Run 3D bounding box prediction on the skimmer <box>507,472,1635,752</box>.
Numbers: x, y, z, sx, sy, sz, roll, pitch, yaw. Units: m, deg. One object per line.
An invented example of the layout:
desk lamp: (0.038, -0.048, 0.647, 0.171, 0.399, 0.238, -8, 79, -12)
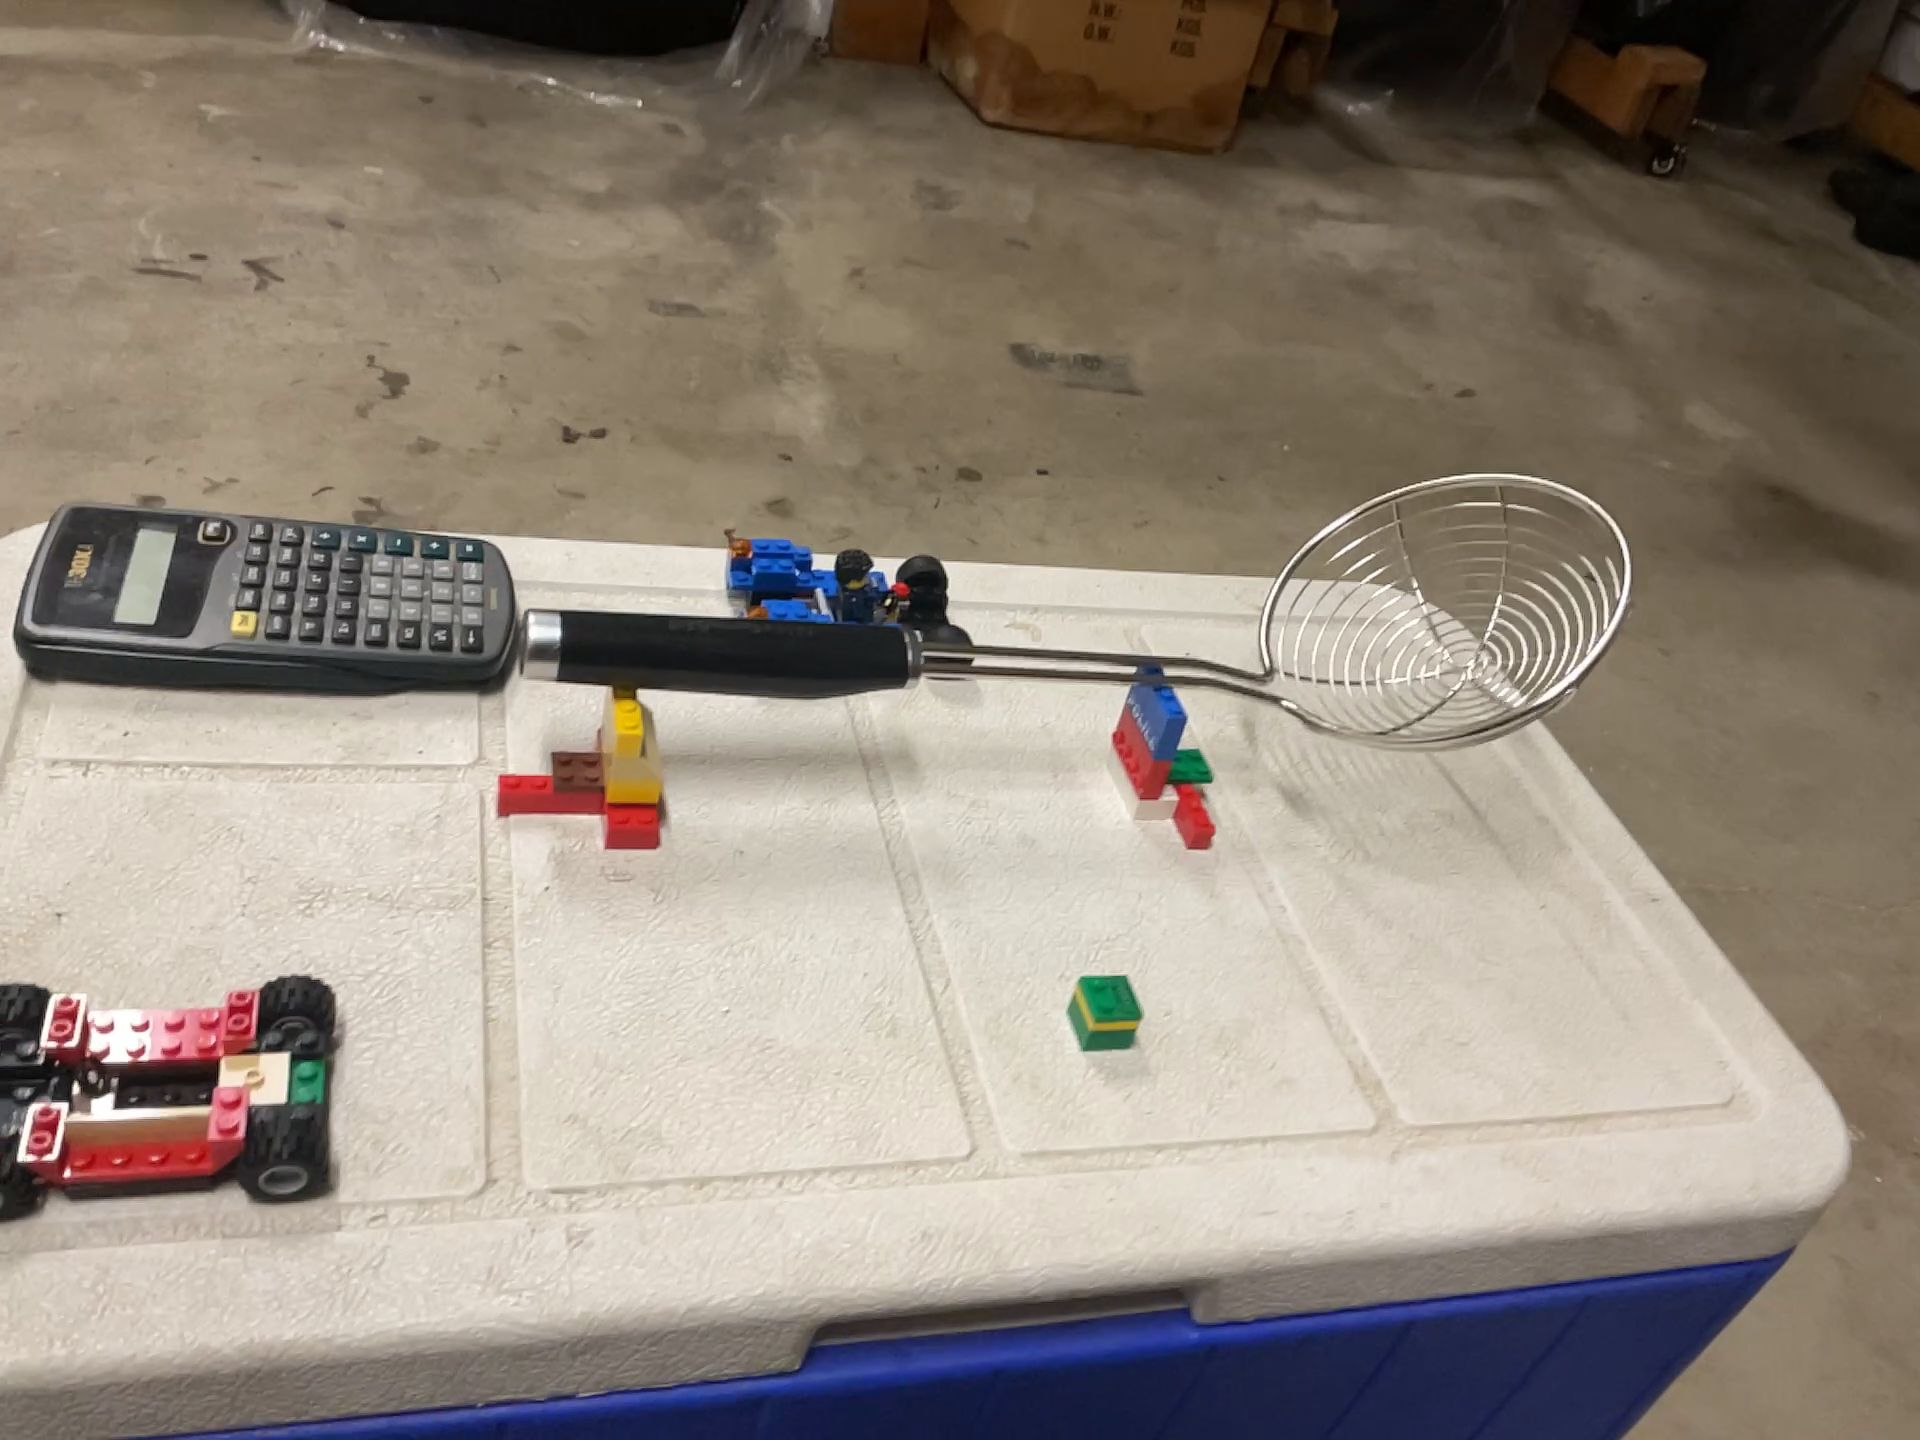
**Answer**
skimmer: (0.044, -0.041, 0.514, 0.363, 0.089, 0.128, 1, 37, -20)
